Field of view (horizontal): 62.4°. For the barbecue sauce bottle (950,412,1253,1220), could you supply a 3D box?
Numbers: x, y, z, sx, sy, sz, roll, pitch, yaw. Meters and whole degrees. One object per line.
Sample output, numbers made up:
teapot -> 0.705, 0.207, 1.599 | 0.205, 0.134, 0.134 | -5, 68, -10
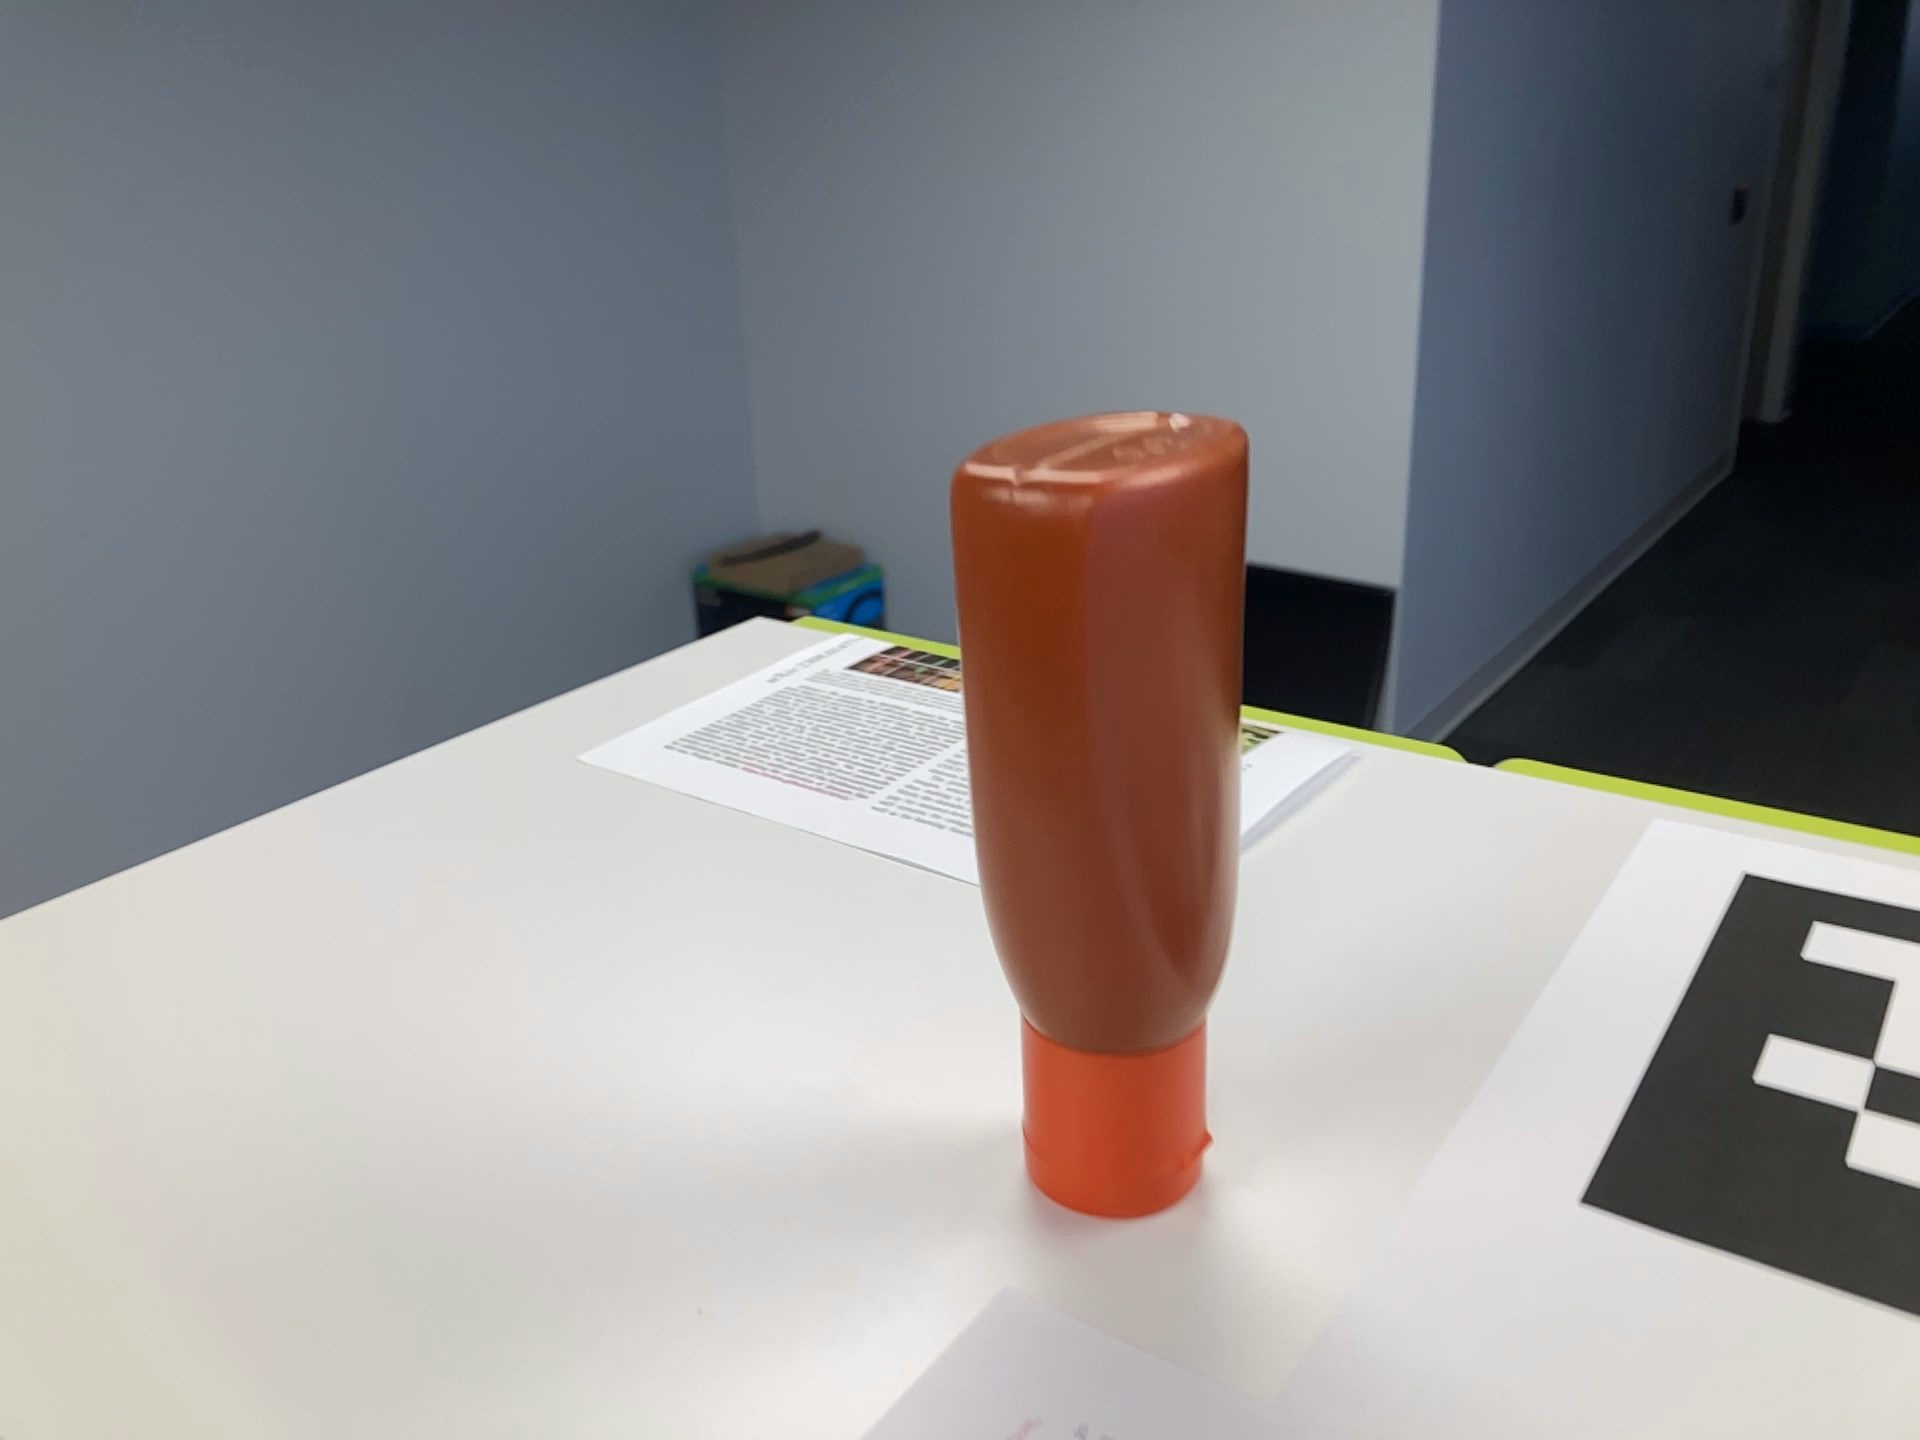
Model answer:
barbecue sauce bottle -> 0.028, 0.021, 0.295 | 0.043, 0.148, 0.065 | 11, 24, 32
